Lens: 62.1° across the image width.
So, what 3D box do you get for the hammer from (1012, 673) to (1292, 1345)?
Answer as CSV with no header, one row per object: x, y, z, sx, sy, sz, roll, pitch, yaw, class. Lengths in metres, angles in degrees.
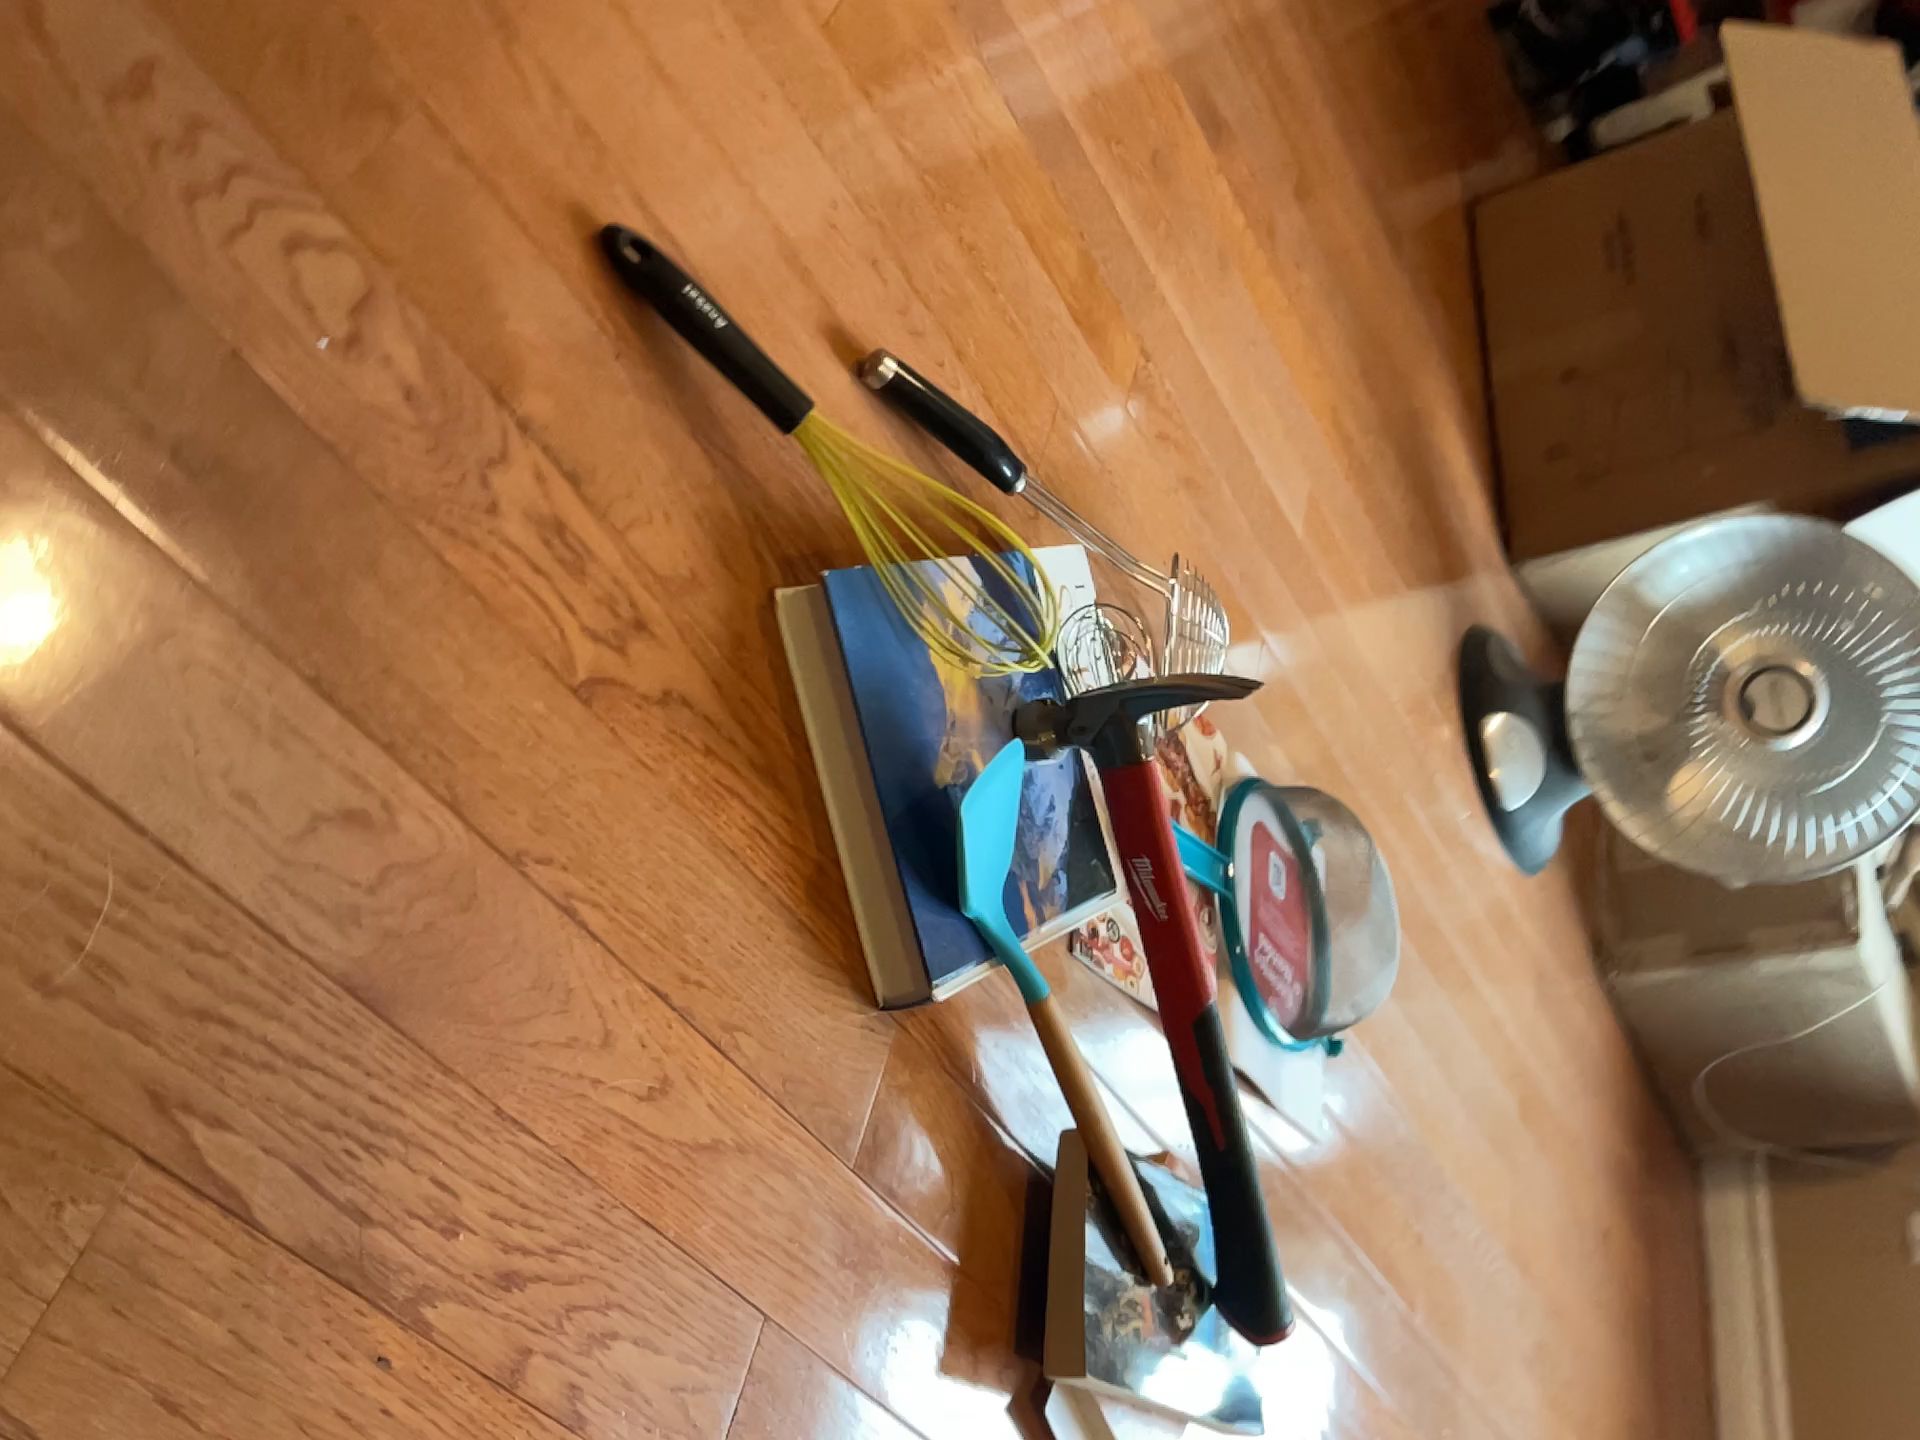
0.141,0.165,0.890,0.038,0.143,0.386,-25,101,-54,hammer

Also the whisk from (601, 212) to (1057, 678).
-0.061,-0.131,0.792,0.311,0.067,0.080,44,57,-19,whisk

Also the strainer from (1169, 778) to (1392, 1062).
0.239,0.120,1.139,0.340,0.095,0.211,36,50,-55,strainer

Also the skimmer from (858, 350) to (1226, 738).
0.055,-0.111,1.023,0.363,0.090,0.128,33,53,-34,skimmer

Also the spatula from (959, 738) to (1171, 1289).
0.059,0.167,0.835,0.082,0.044,0.317,-45,116,-56,spatula

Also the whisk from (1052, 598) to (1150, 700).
0.106,0.046,0.963,0.059,0.057,0.246,-100,176,-80,whisk
